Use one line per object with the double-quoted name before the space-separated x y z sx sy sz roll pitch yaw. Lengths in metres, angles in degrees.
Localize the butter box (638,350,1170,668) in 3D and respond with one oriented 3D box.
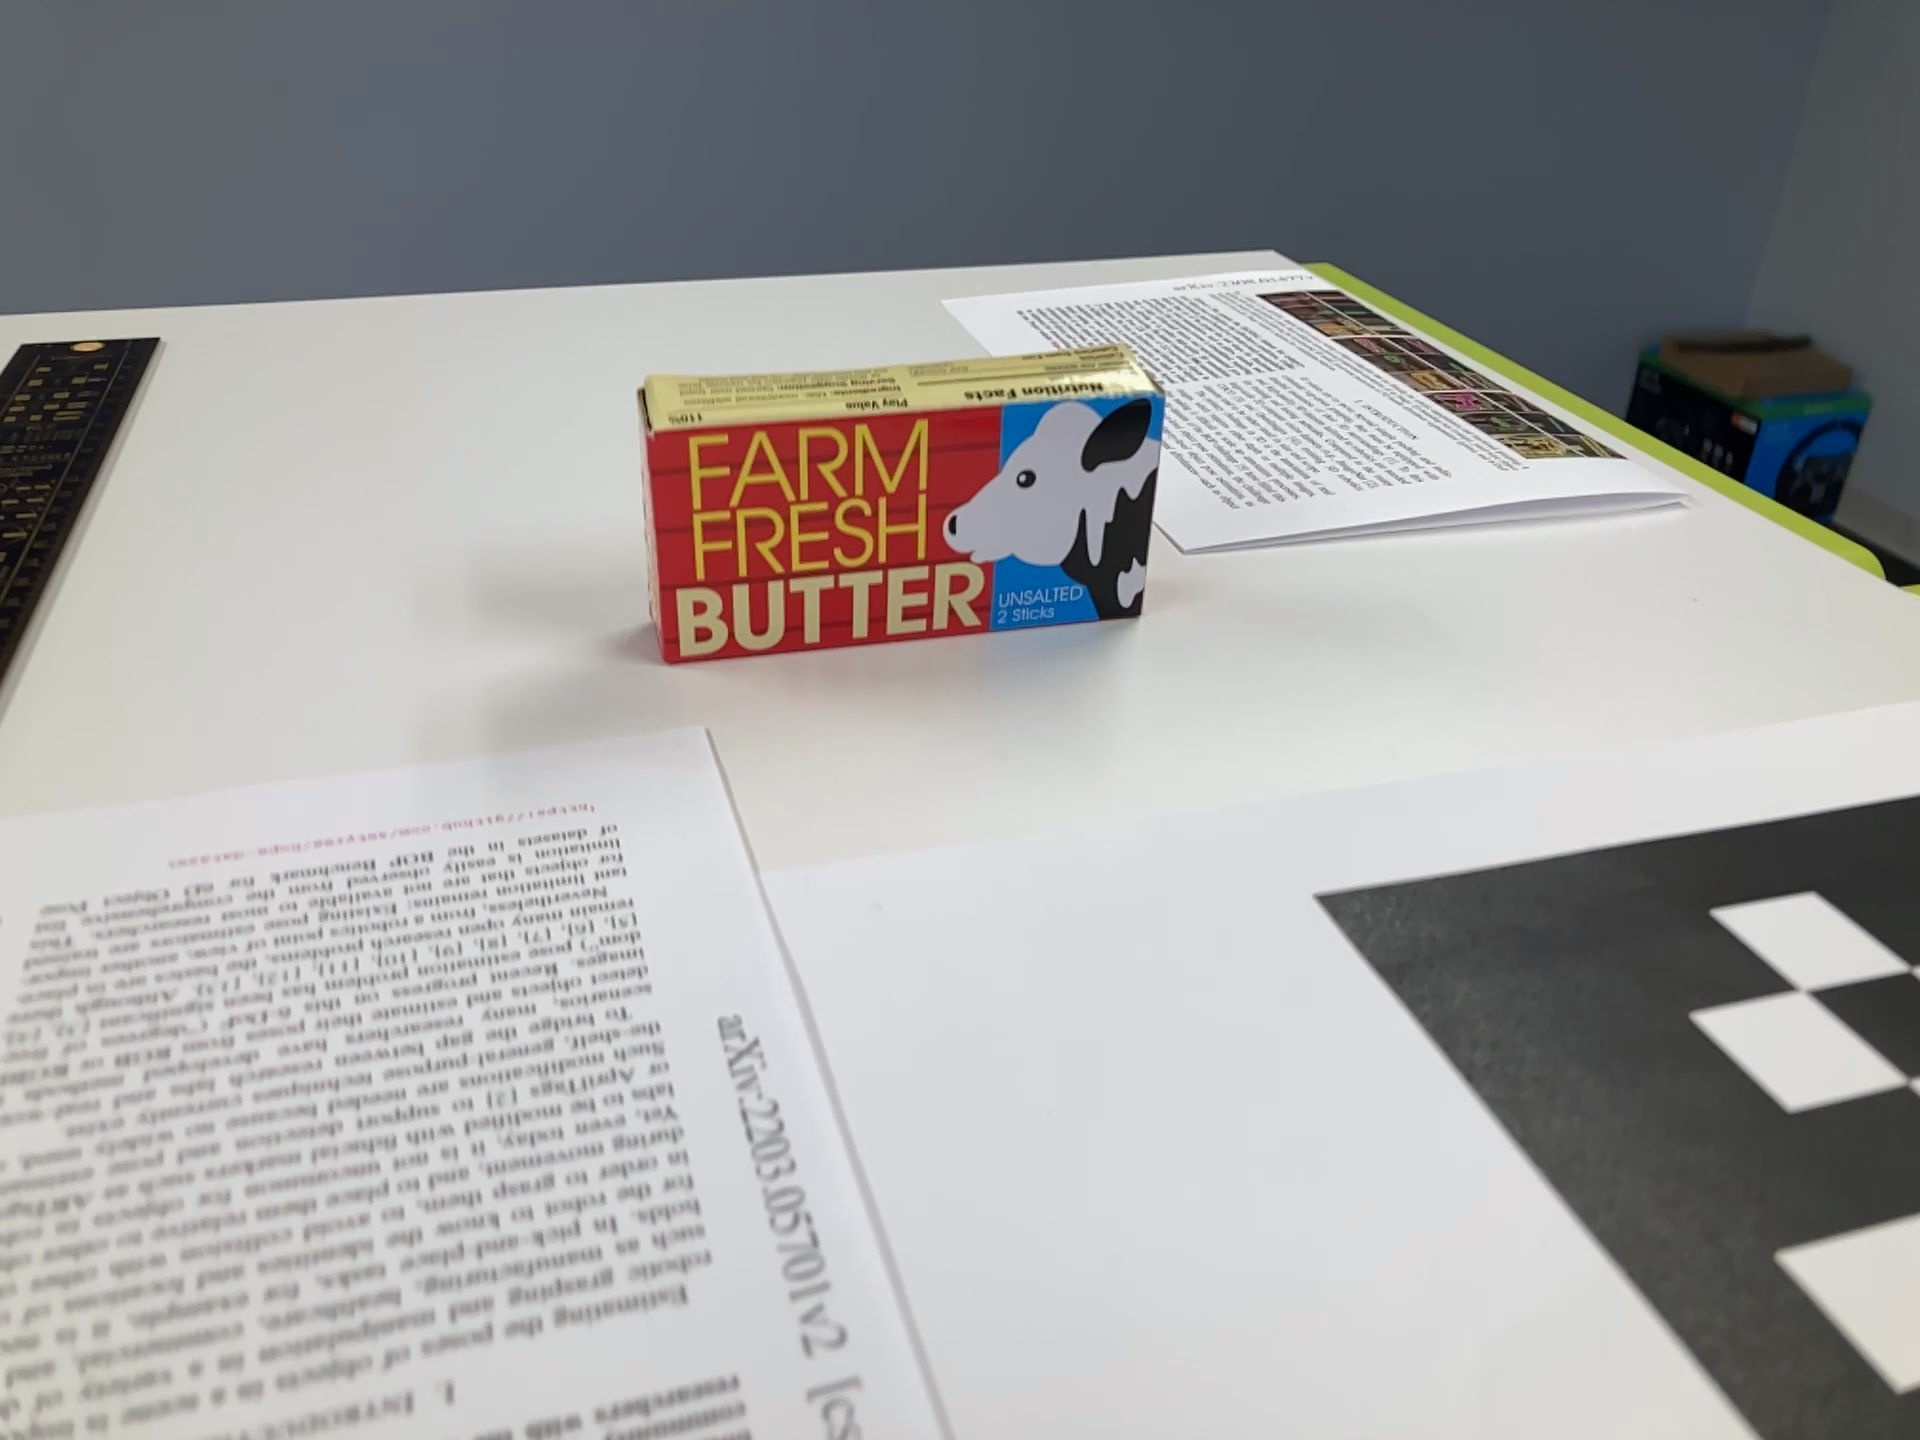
"butter box" -0.012 -0.043 0.320 0.103 0.053 0.024 -7 34 -15
